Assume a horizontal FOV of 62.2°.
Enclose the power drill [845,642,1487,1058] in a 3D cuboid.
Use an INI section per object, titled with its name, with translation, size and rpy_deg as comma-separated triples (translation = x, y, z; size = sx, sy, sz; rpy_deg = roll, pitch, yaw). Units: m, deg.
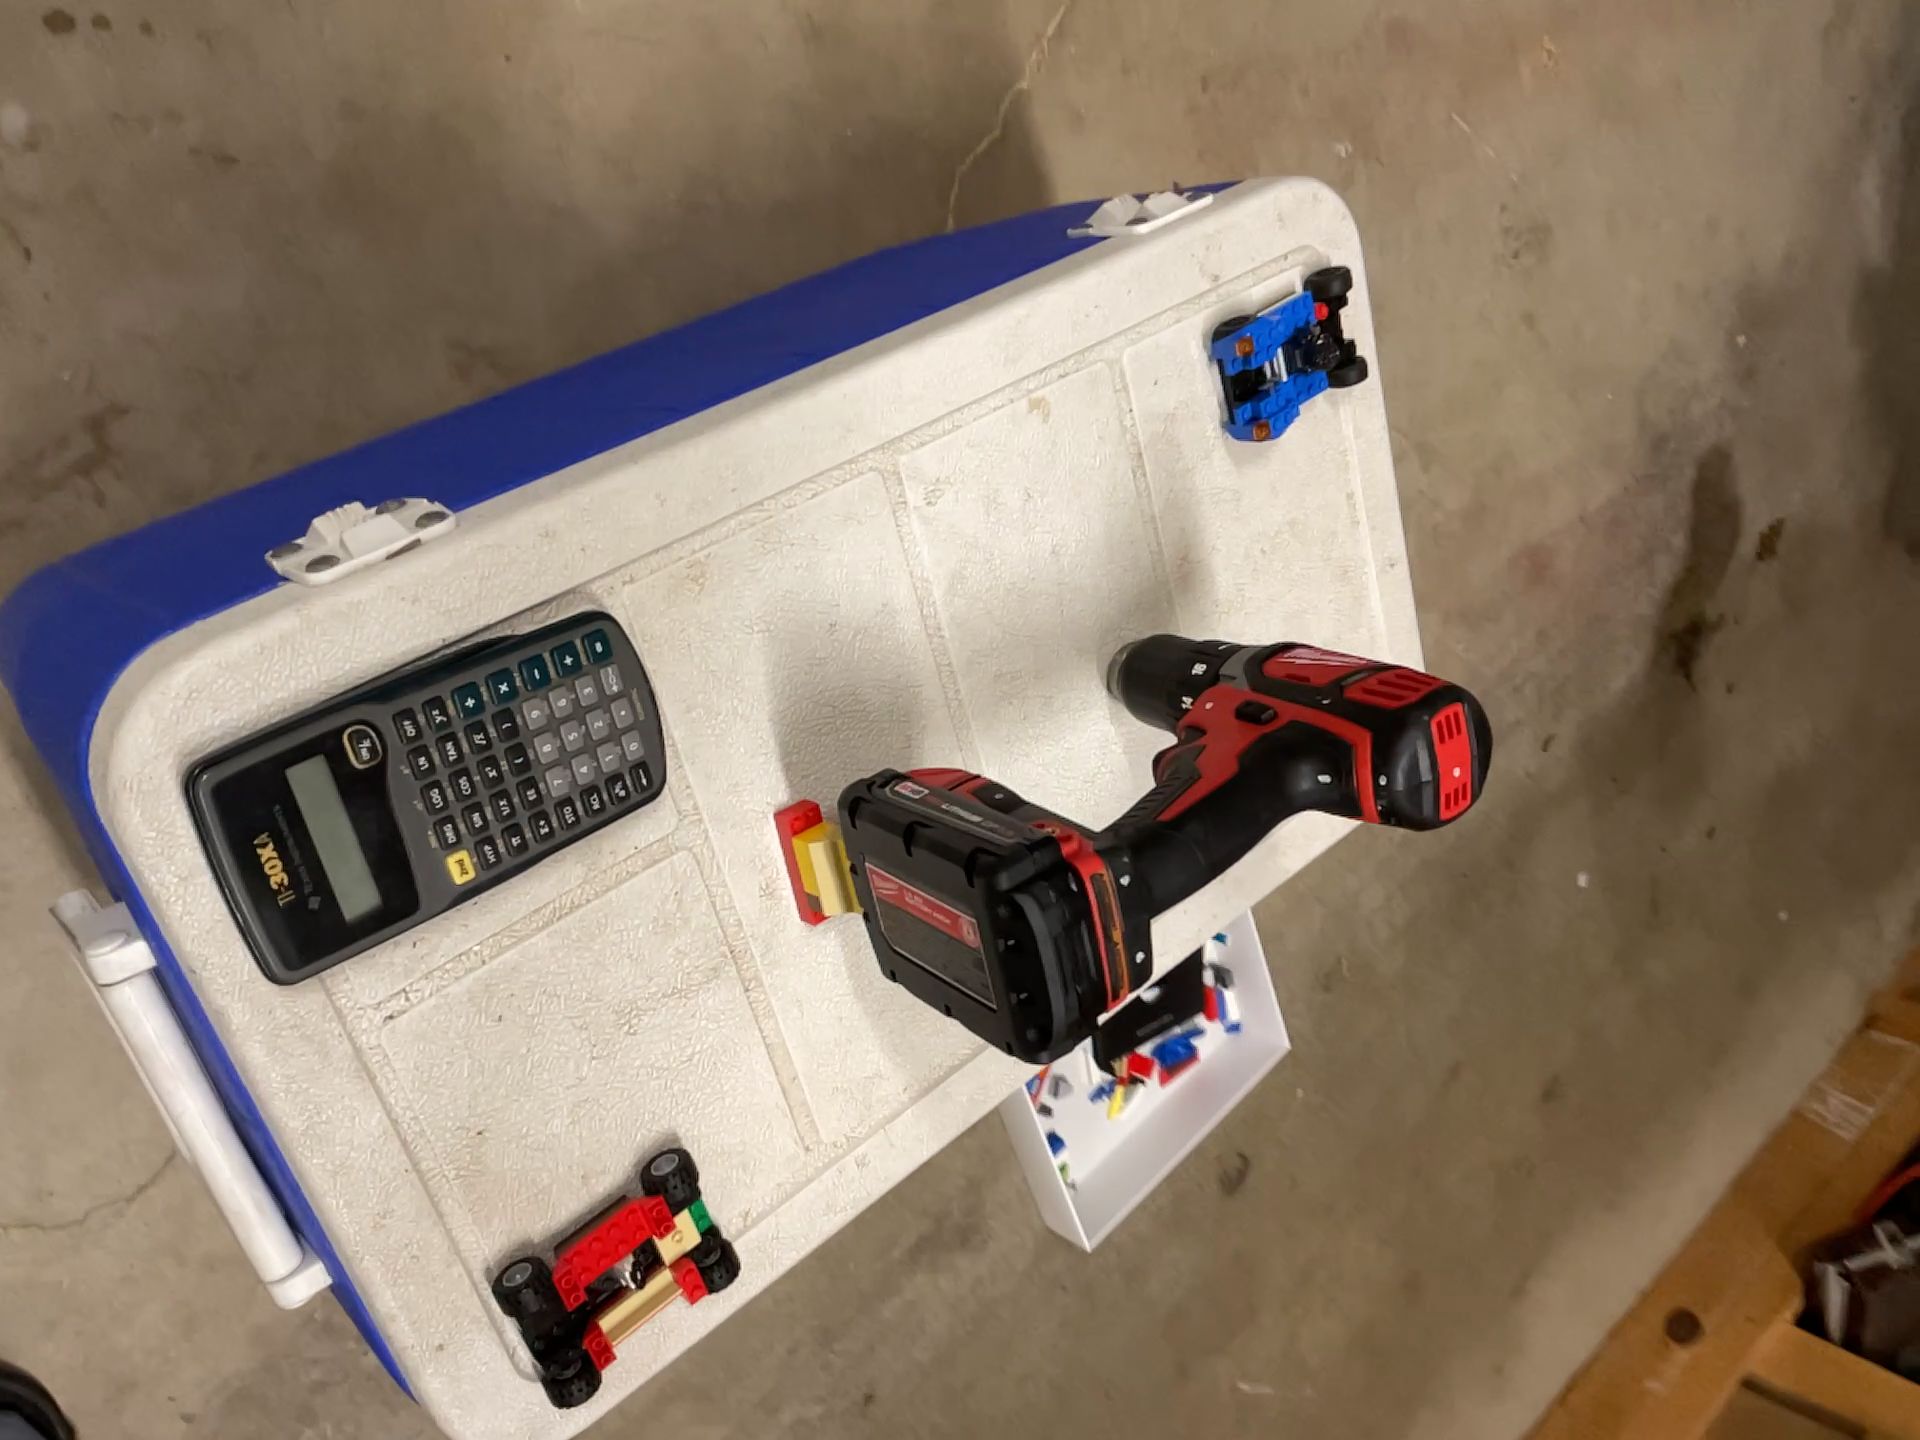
[power drill]
translation = 0.068, 0.028, 0.636
size = 0.227, 0.188, 0.080
rpy_deg = -24, 113, -28
